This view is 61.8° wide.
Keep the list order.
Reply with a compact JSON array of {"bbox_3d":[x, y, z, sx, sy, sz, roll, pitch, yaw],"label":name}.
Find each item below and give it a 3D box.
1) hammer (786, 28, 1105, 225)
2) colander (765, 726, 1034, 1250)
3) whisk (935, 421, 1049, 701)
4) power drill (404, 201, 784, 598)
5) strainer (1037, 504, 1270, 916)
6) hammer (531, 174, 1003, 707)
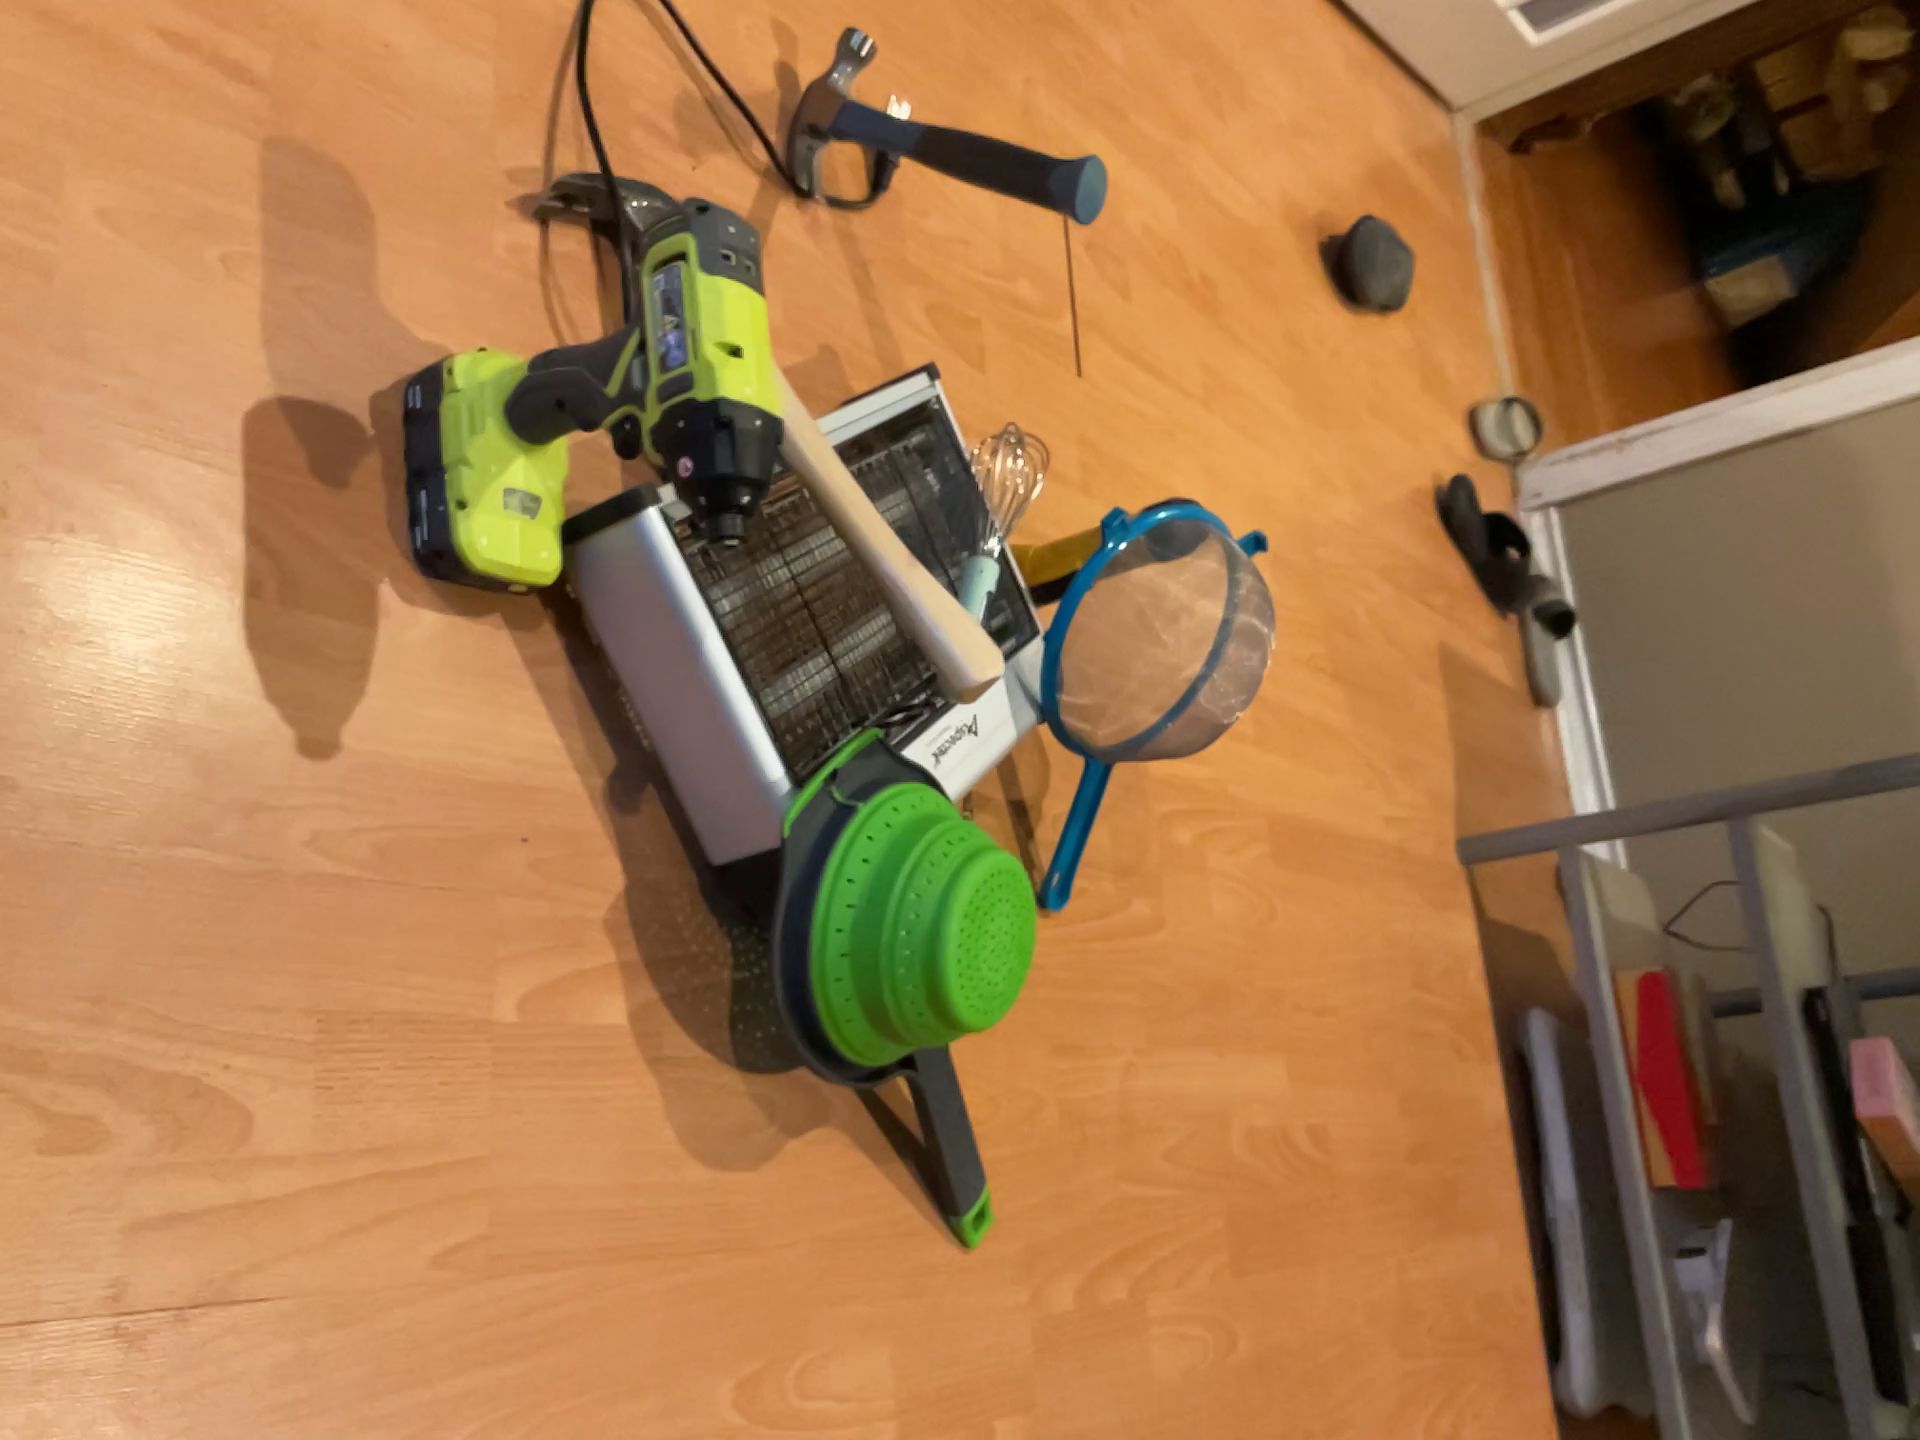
[{"bbox_3d":[-0.016,-0.409,1.144,0.033,0.331,0.128,27,96,-48],"label":"hammer"},{"bbox_3d":[-0.002,0.196,1.007,0.205,0.094,0.396,-47,133,-45],"label":"colander"},{"bbox_3d":[0.018,-0.116,1.141,0.057,0.059,0.246,79,21,-56],"label":"whisk"},{"bbox_3d":[-0.189,-0.149,0.838,0.080,0.223,0.171,11,69,-53],"label":"power drill"},{"bbox_3d":[0.147,0.011,1.219,0.211,0.095,0.340,1,112,-45],"label":"strainer"},{"bbox_3d":[-0.110,-0.178,0.995,0.410,0.038,0.146,55,30,13],"label":"hammer"}]
